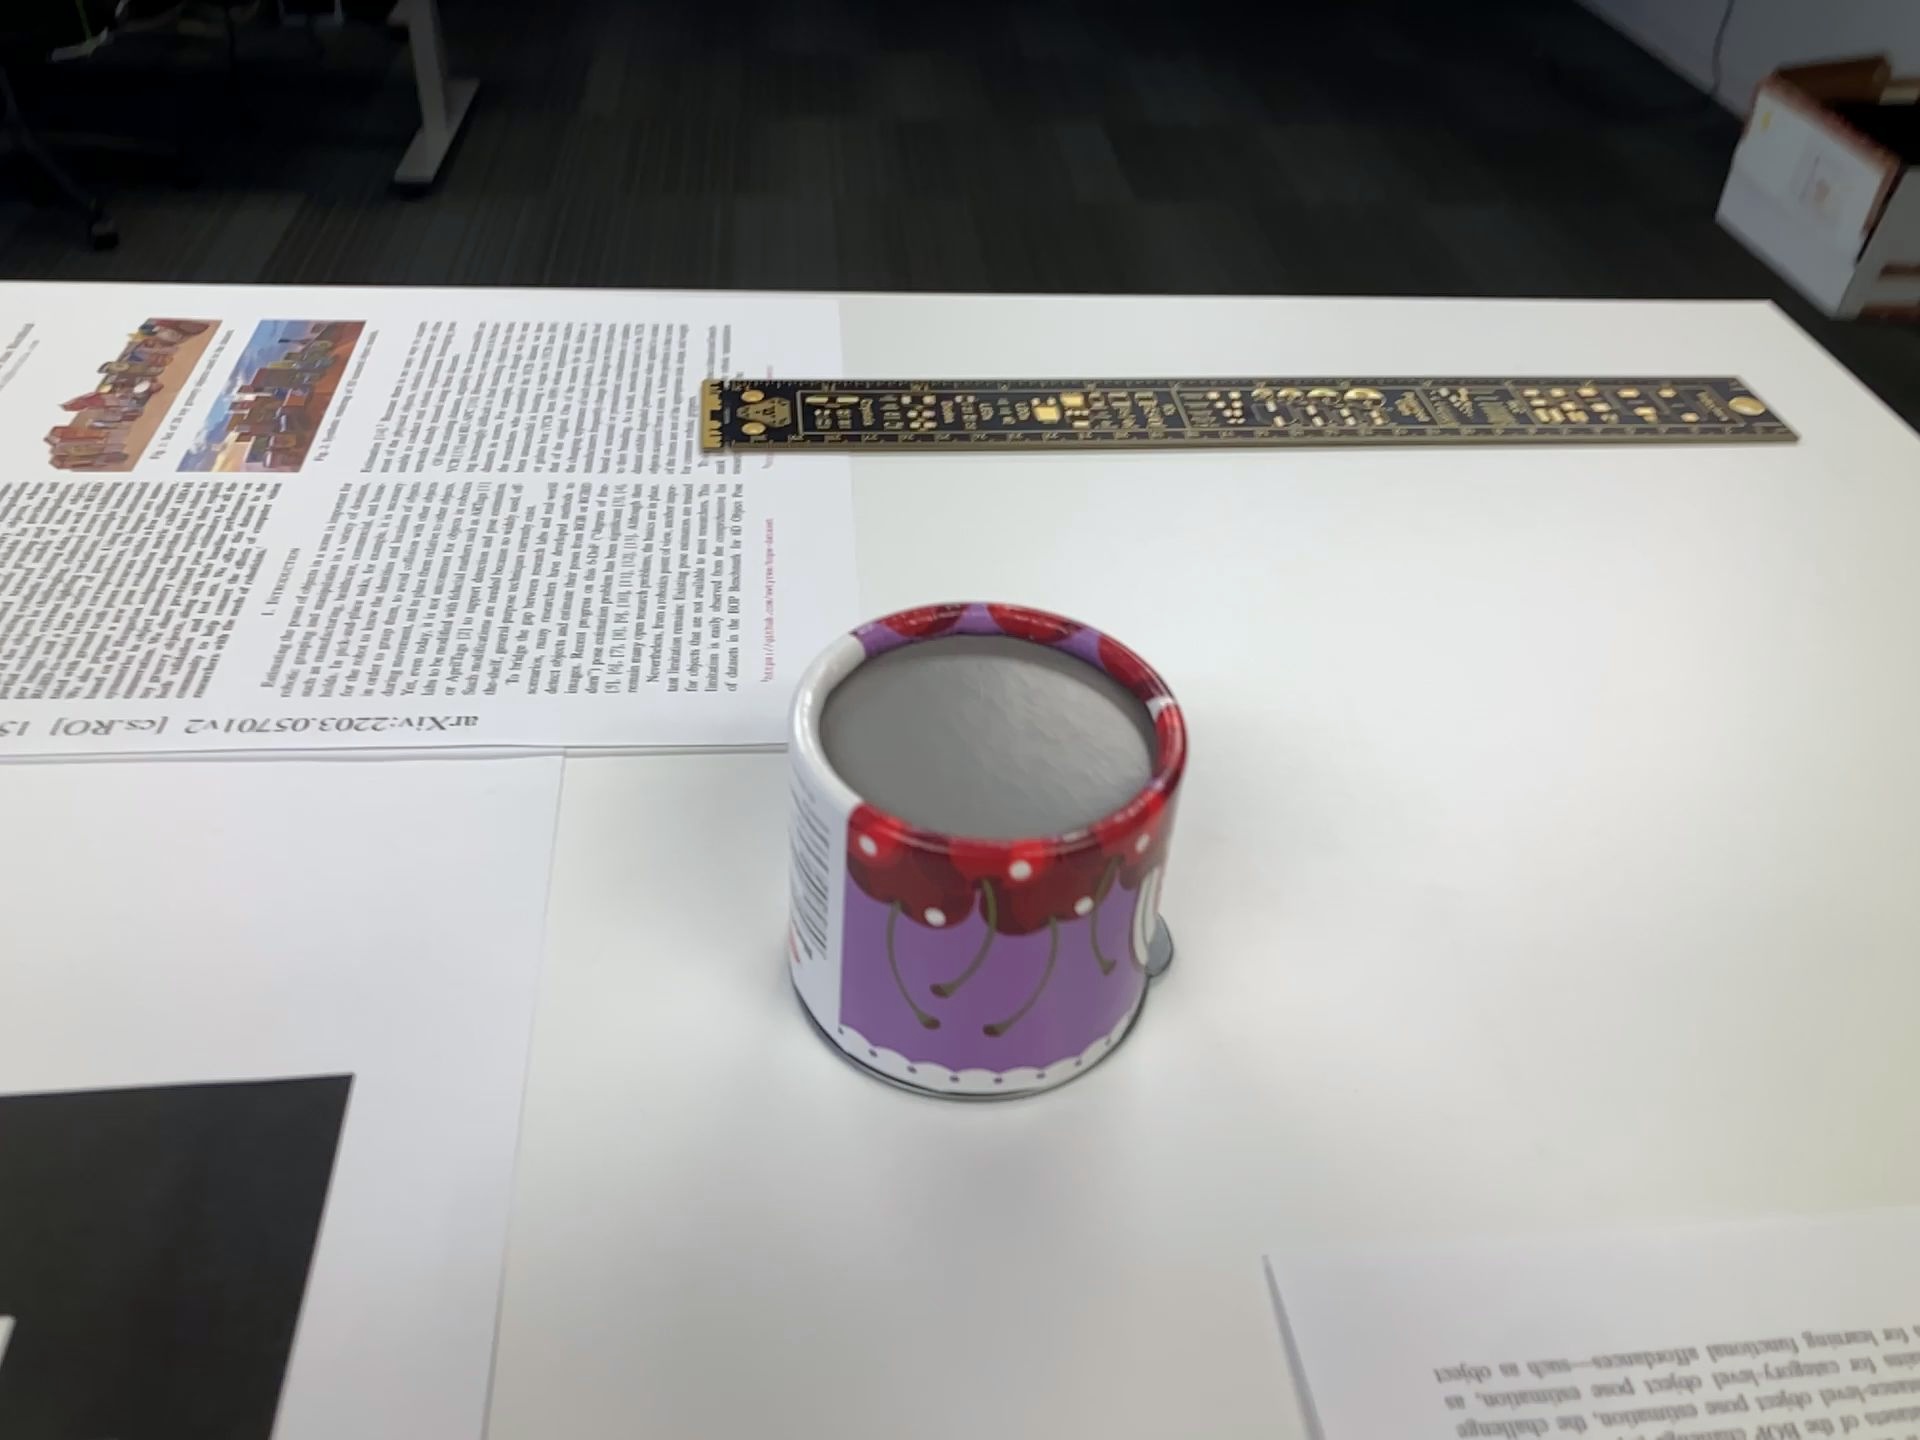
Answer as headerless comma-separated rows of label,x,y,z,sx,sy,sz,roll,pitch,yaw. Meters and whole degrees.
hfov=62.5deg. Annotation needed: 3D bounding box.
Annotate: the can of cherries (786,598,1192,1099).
can of cherries,0.006,0.020,0.273,0.071,0.058,0.071,3,39,-2
